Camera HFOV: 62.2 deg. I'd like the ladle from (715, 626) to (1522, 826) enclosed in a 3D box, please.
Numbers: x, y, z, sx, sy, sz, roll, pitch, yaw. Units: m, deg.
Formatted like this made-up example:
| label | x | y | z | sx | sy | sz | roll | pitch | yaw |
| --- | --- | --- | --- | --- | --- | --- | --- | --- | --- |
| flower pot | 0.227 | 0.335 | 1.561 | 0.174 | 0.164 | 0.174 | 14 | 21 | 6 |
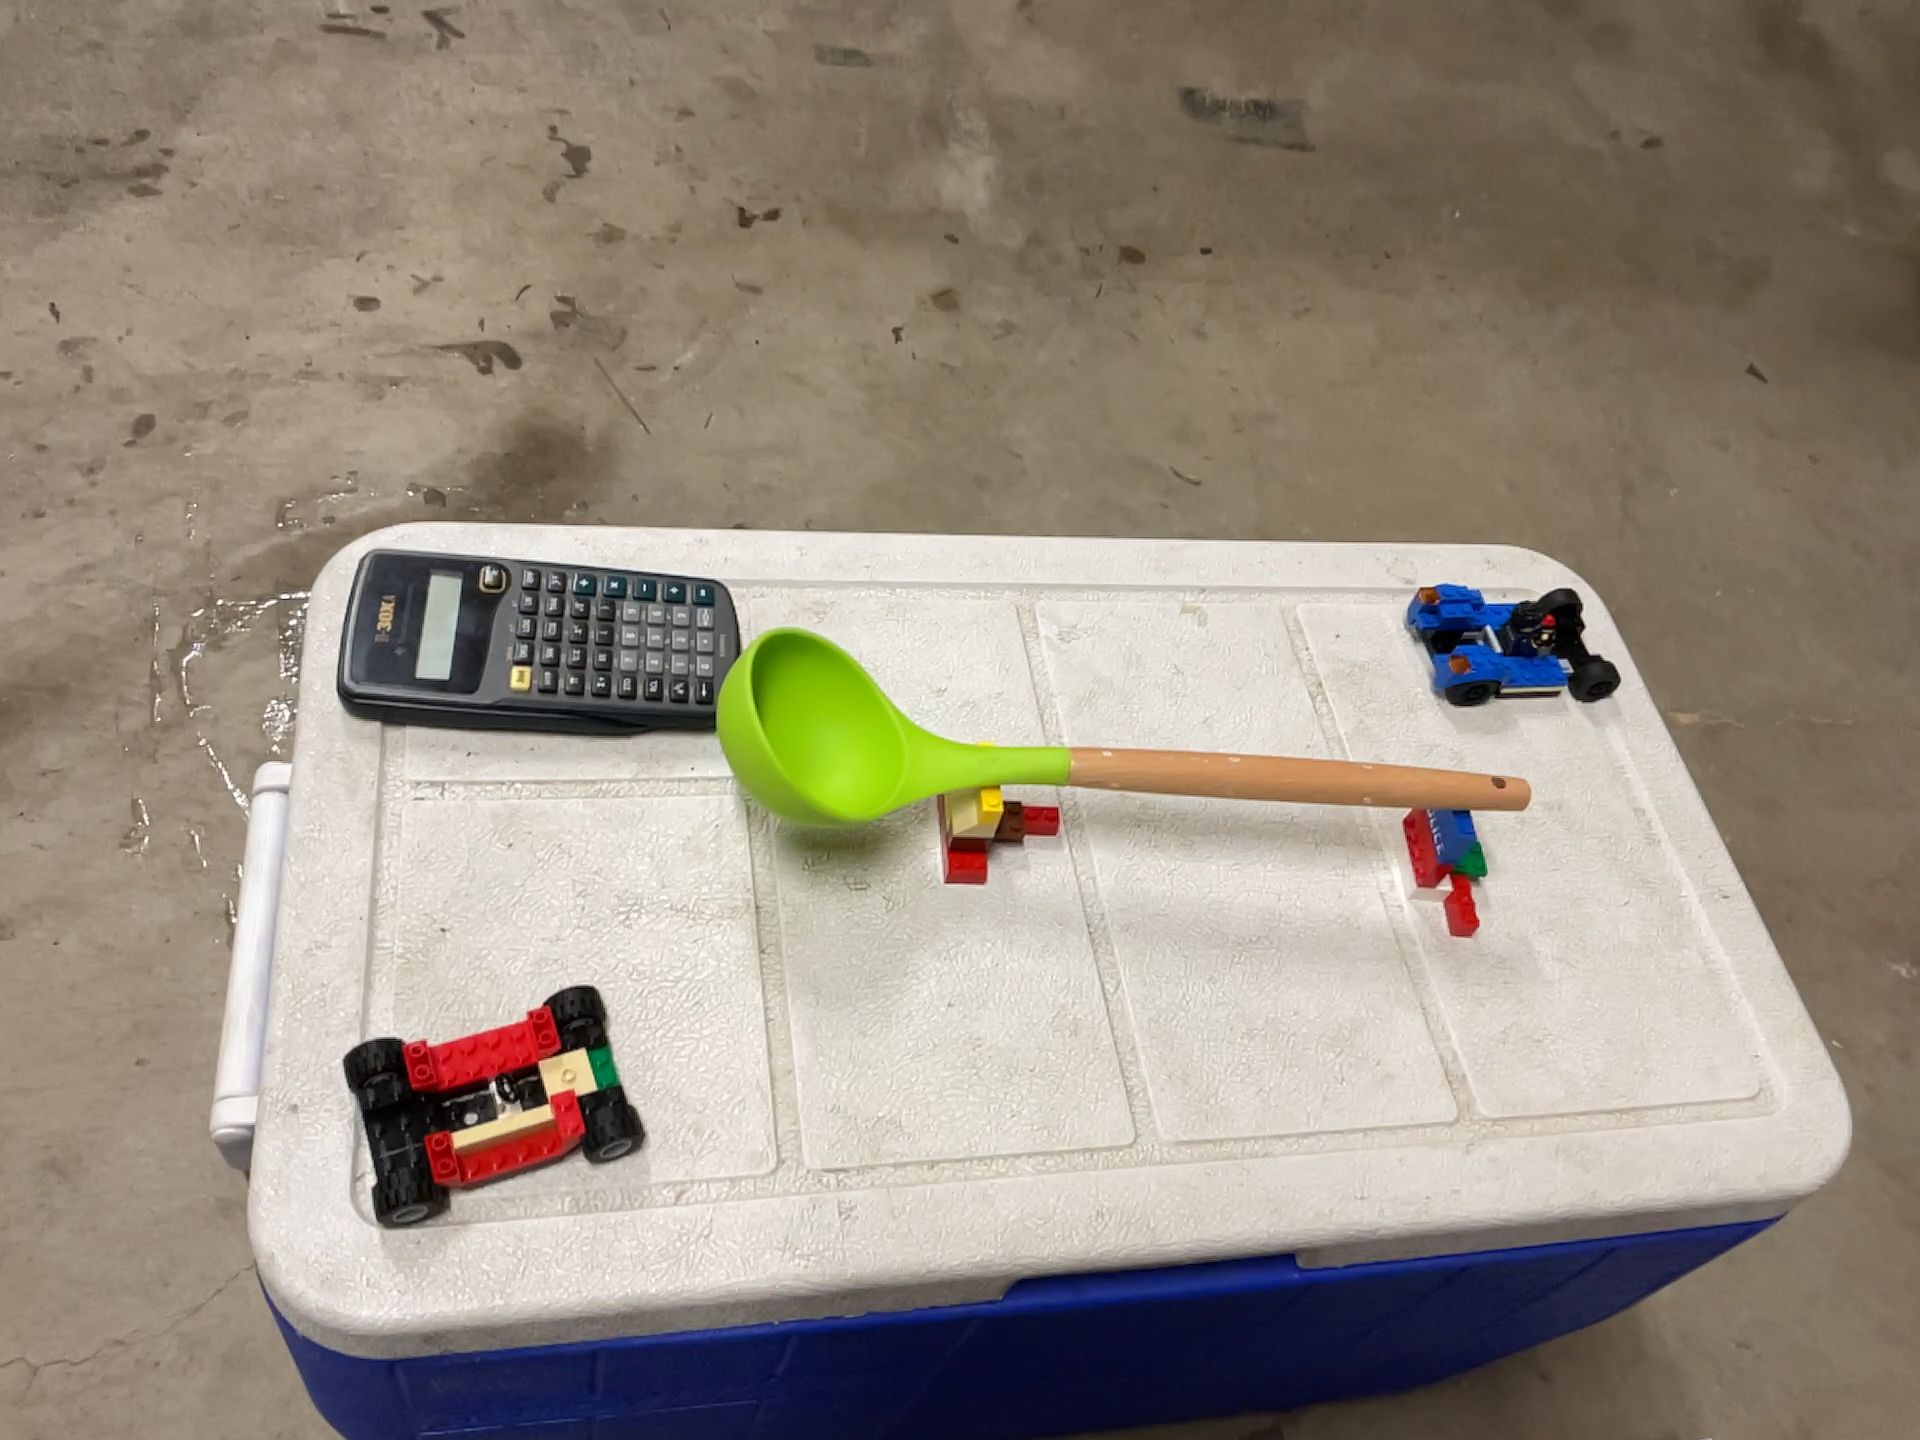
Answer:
| label | x | y | z | sx | sy | sz | roll | pitch | yaw |
| --- | --- | --- | --- | --- | --- | --- | --- | --- | --- |
| ladle | 0.068 | 0.012 | 0.608 | 0.320 | 0.062 | 0.078 | 4 | 52 | -9 |
